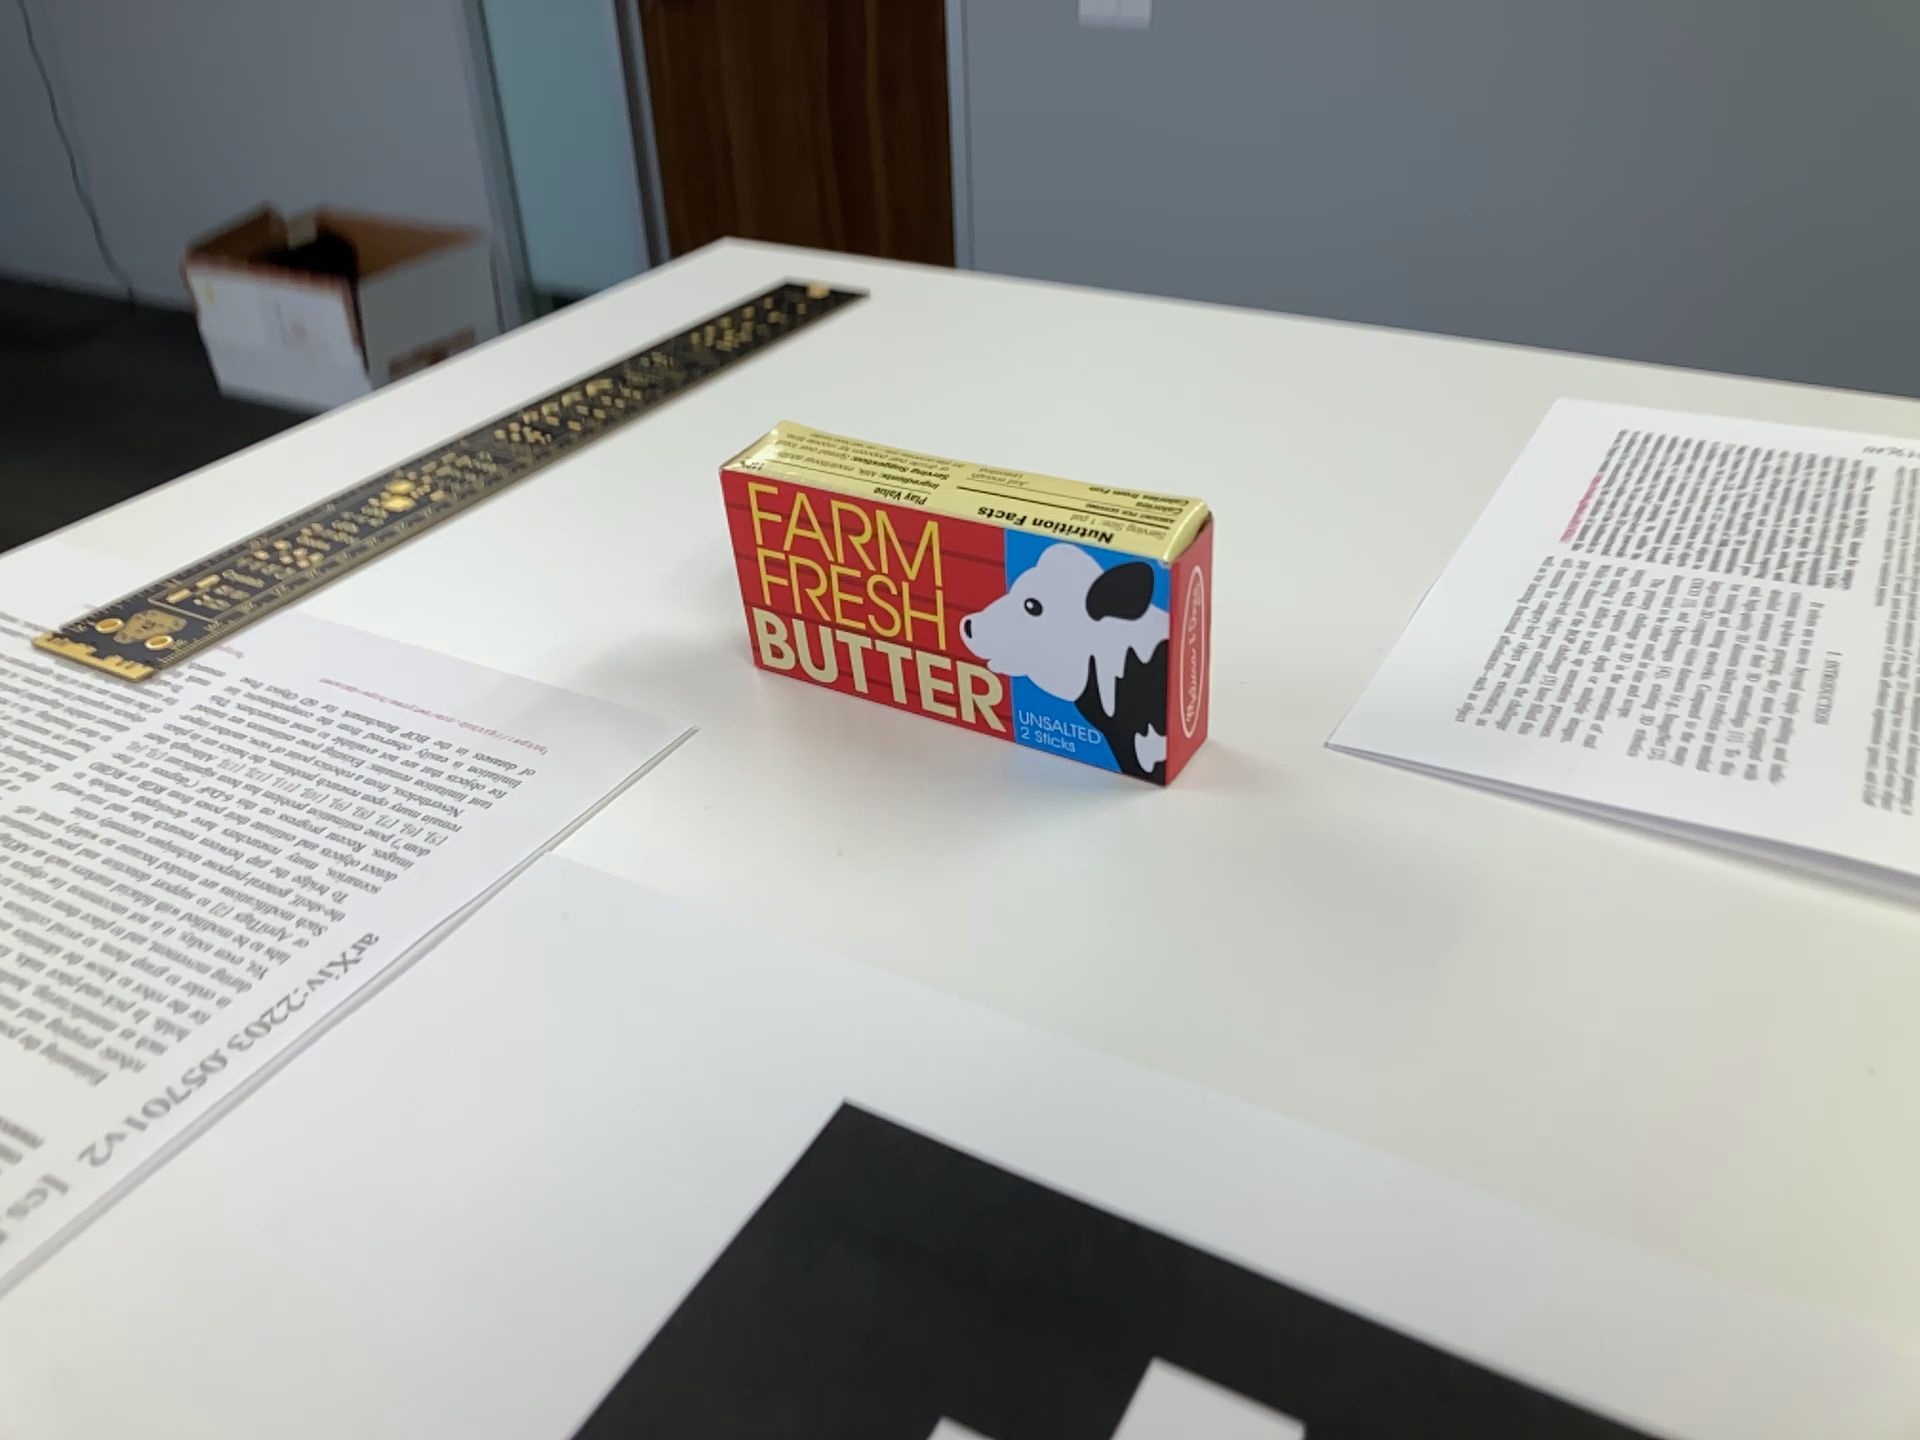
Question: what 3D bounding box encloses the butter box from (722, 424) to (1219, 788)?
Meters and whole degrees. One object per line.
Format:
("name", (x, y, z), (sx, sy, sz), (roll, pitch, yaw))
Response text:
("butter box", (0.001, -0.025, 0.326), (0.103, 0.053, 0.024), (15, 39, 26))
